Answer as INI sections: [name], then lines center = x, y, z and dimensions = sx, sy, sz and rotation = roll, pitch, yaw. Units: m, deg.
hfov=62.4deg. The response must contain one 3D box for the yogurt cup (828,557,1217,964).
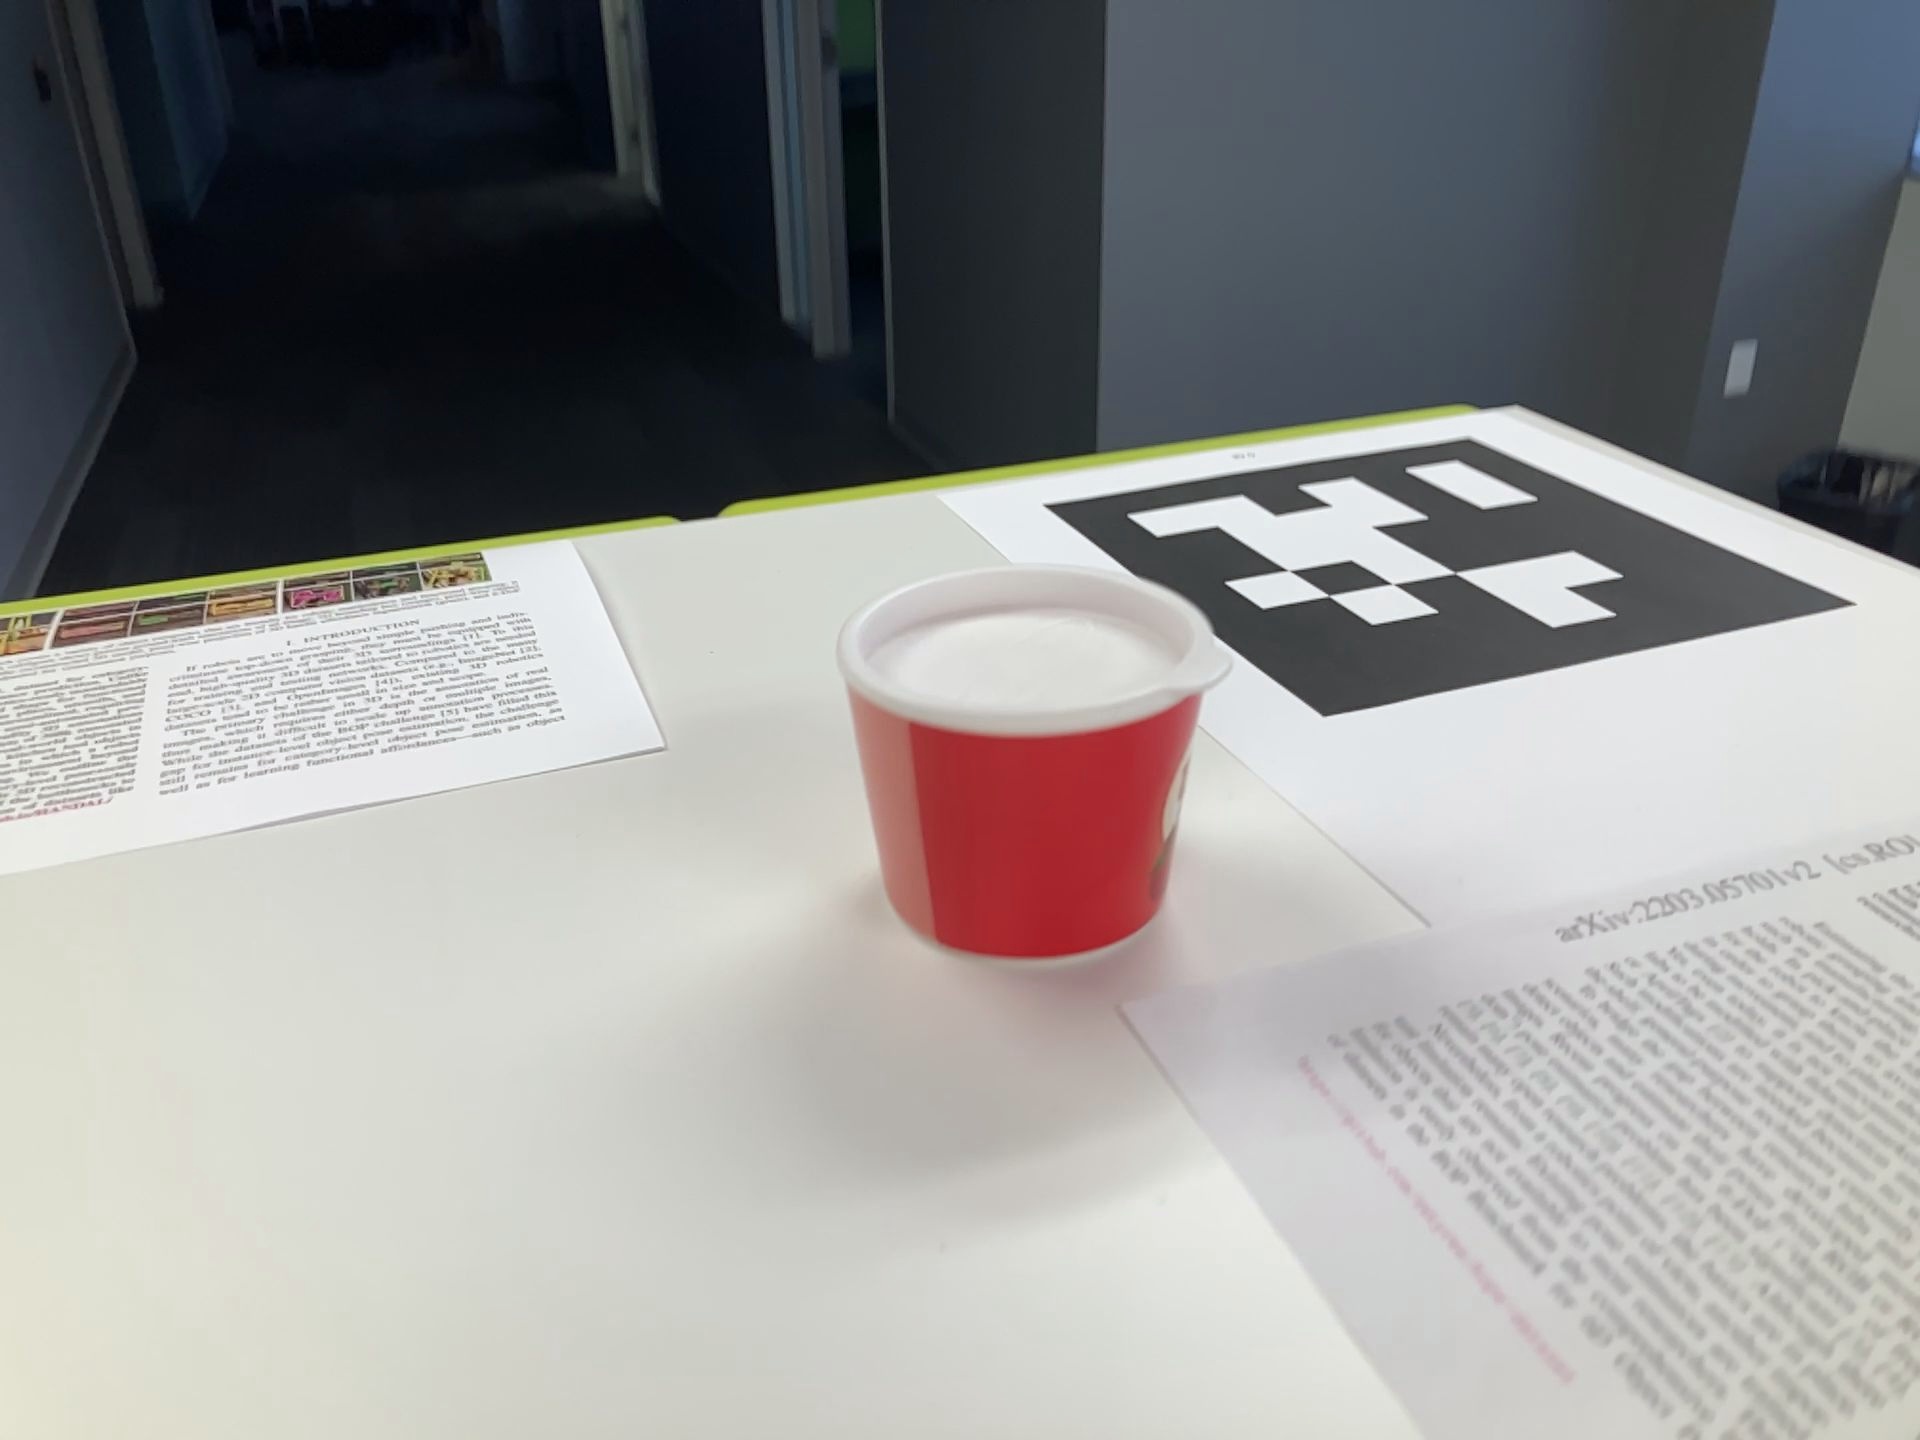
[yogurt cup]
center = 0.012, 0.007, 0.290
dimensions = 0.072, 0.054, 0.072
rotation = -2, 26, 1
